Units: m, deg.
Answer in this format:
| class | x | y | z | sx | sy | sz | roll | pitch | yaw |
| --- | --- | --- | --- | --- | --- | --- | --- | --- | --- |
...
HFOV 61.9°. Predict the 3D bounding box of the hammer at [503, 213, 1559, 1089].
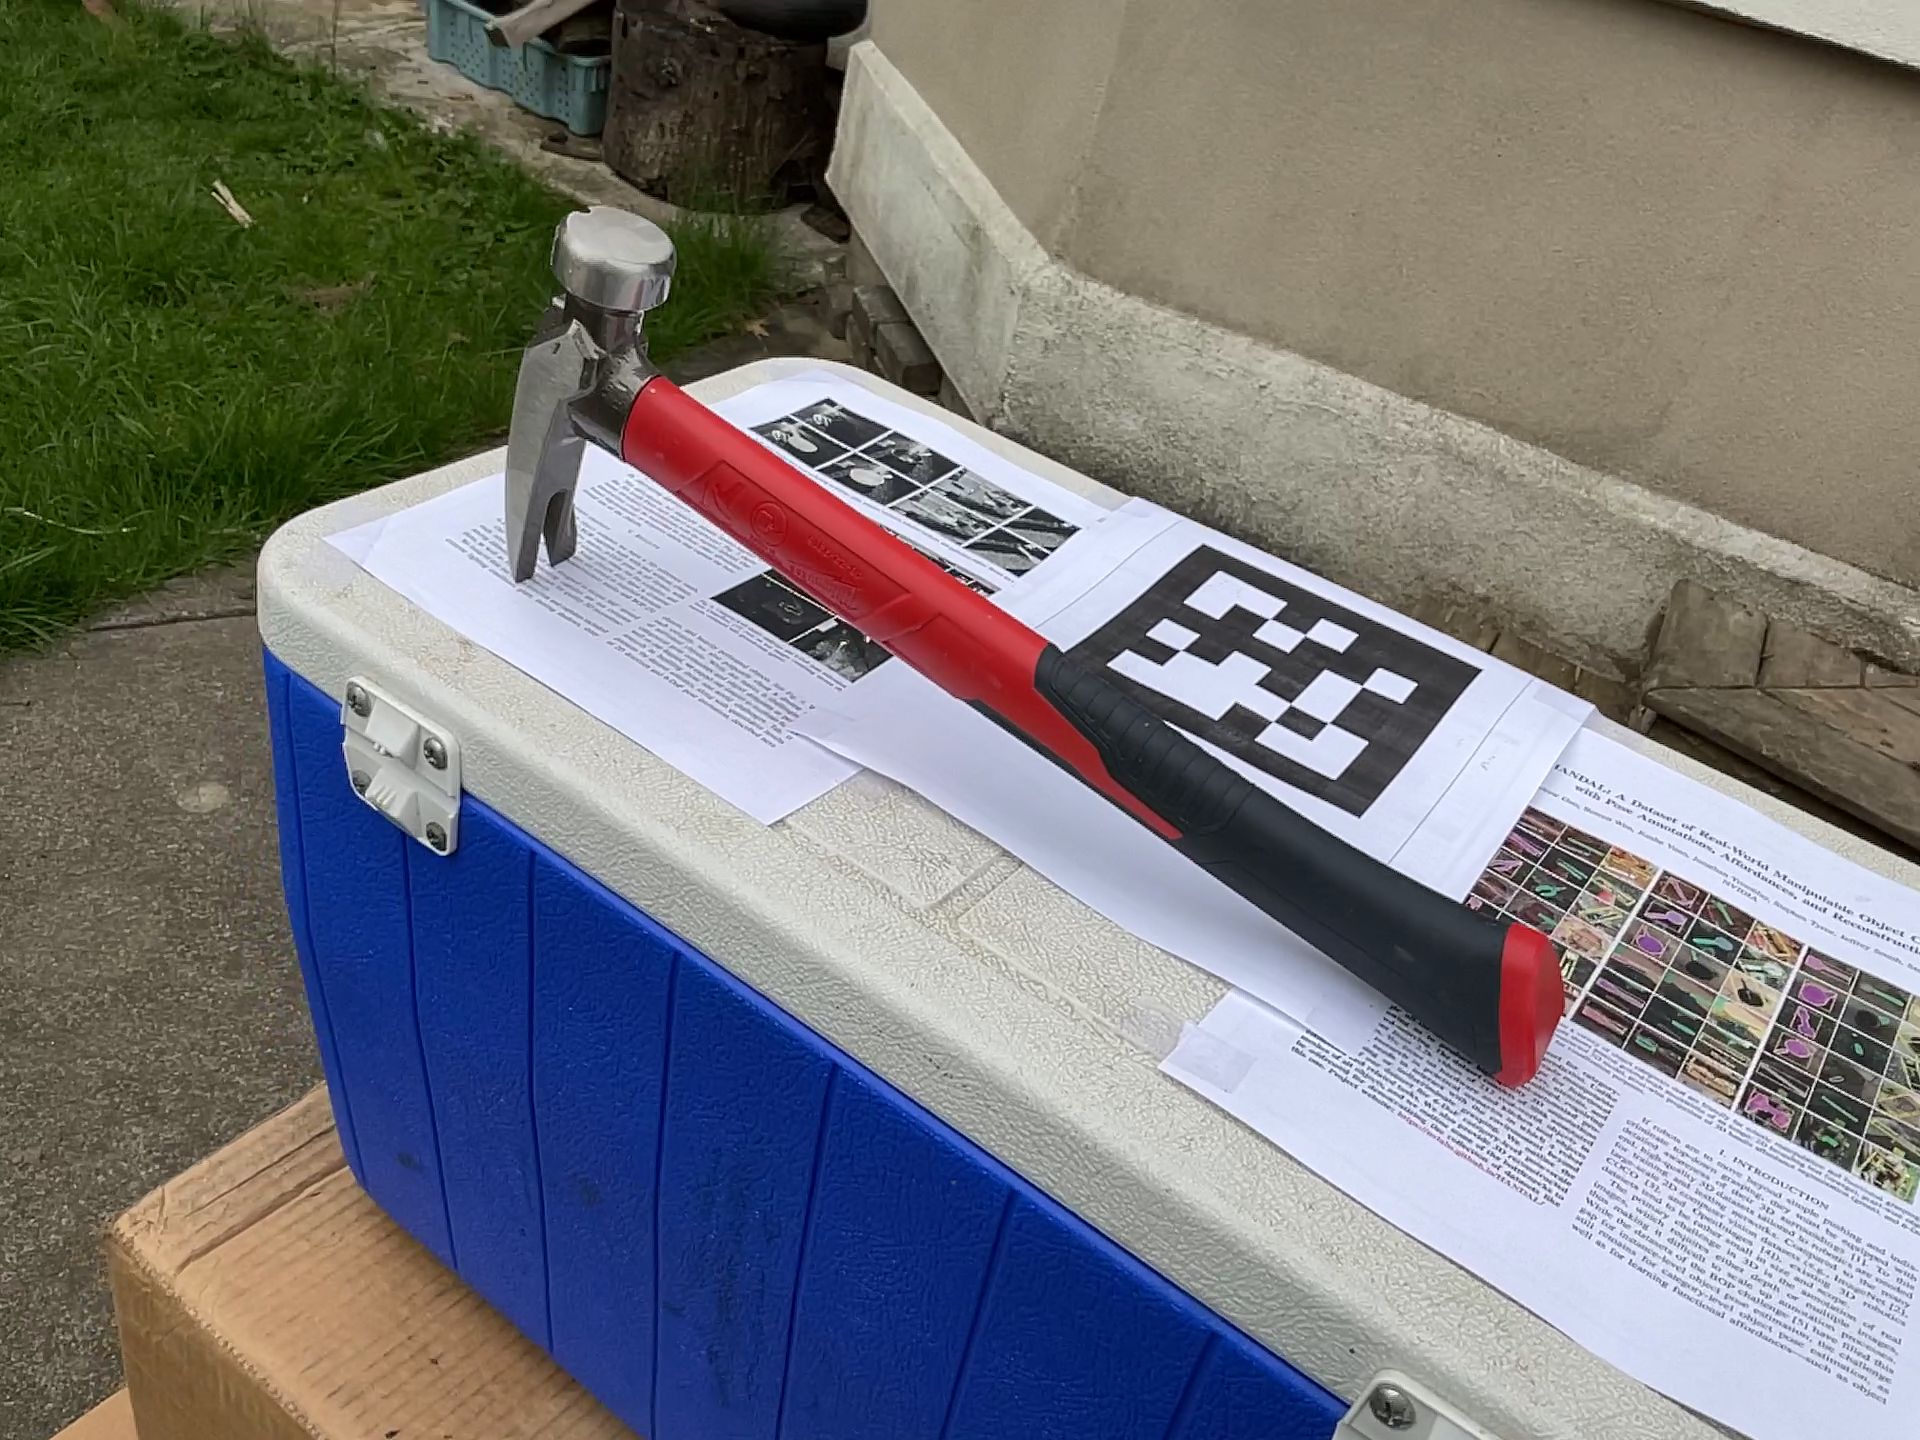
| class | x | y | z | sx | sy | sz | roll | pitch | yaw |
| --- | --- | --- | --- | --- | --- | --- | --- | --- | --- |
| hammer | 0.008 | -0.004 | 0.513 | 0.386 | 0.143 | 0.038 | 36 | 41 | 13 |
